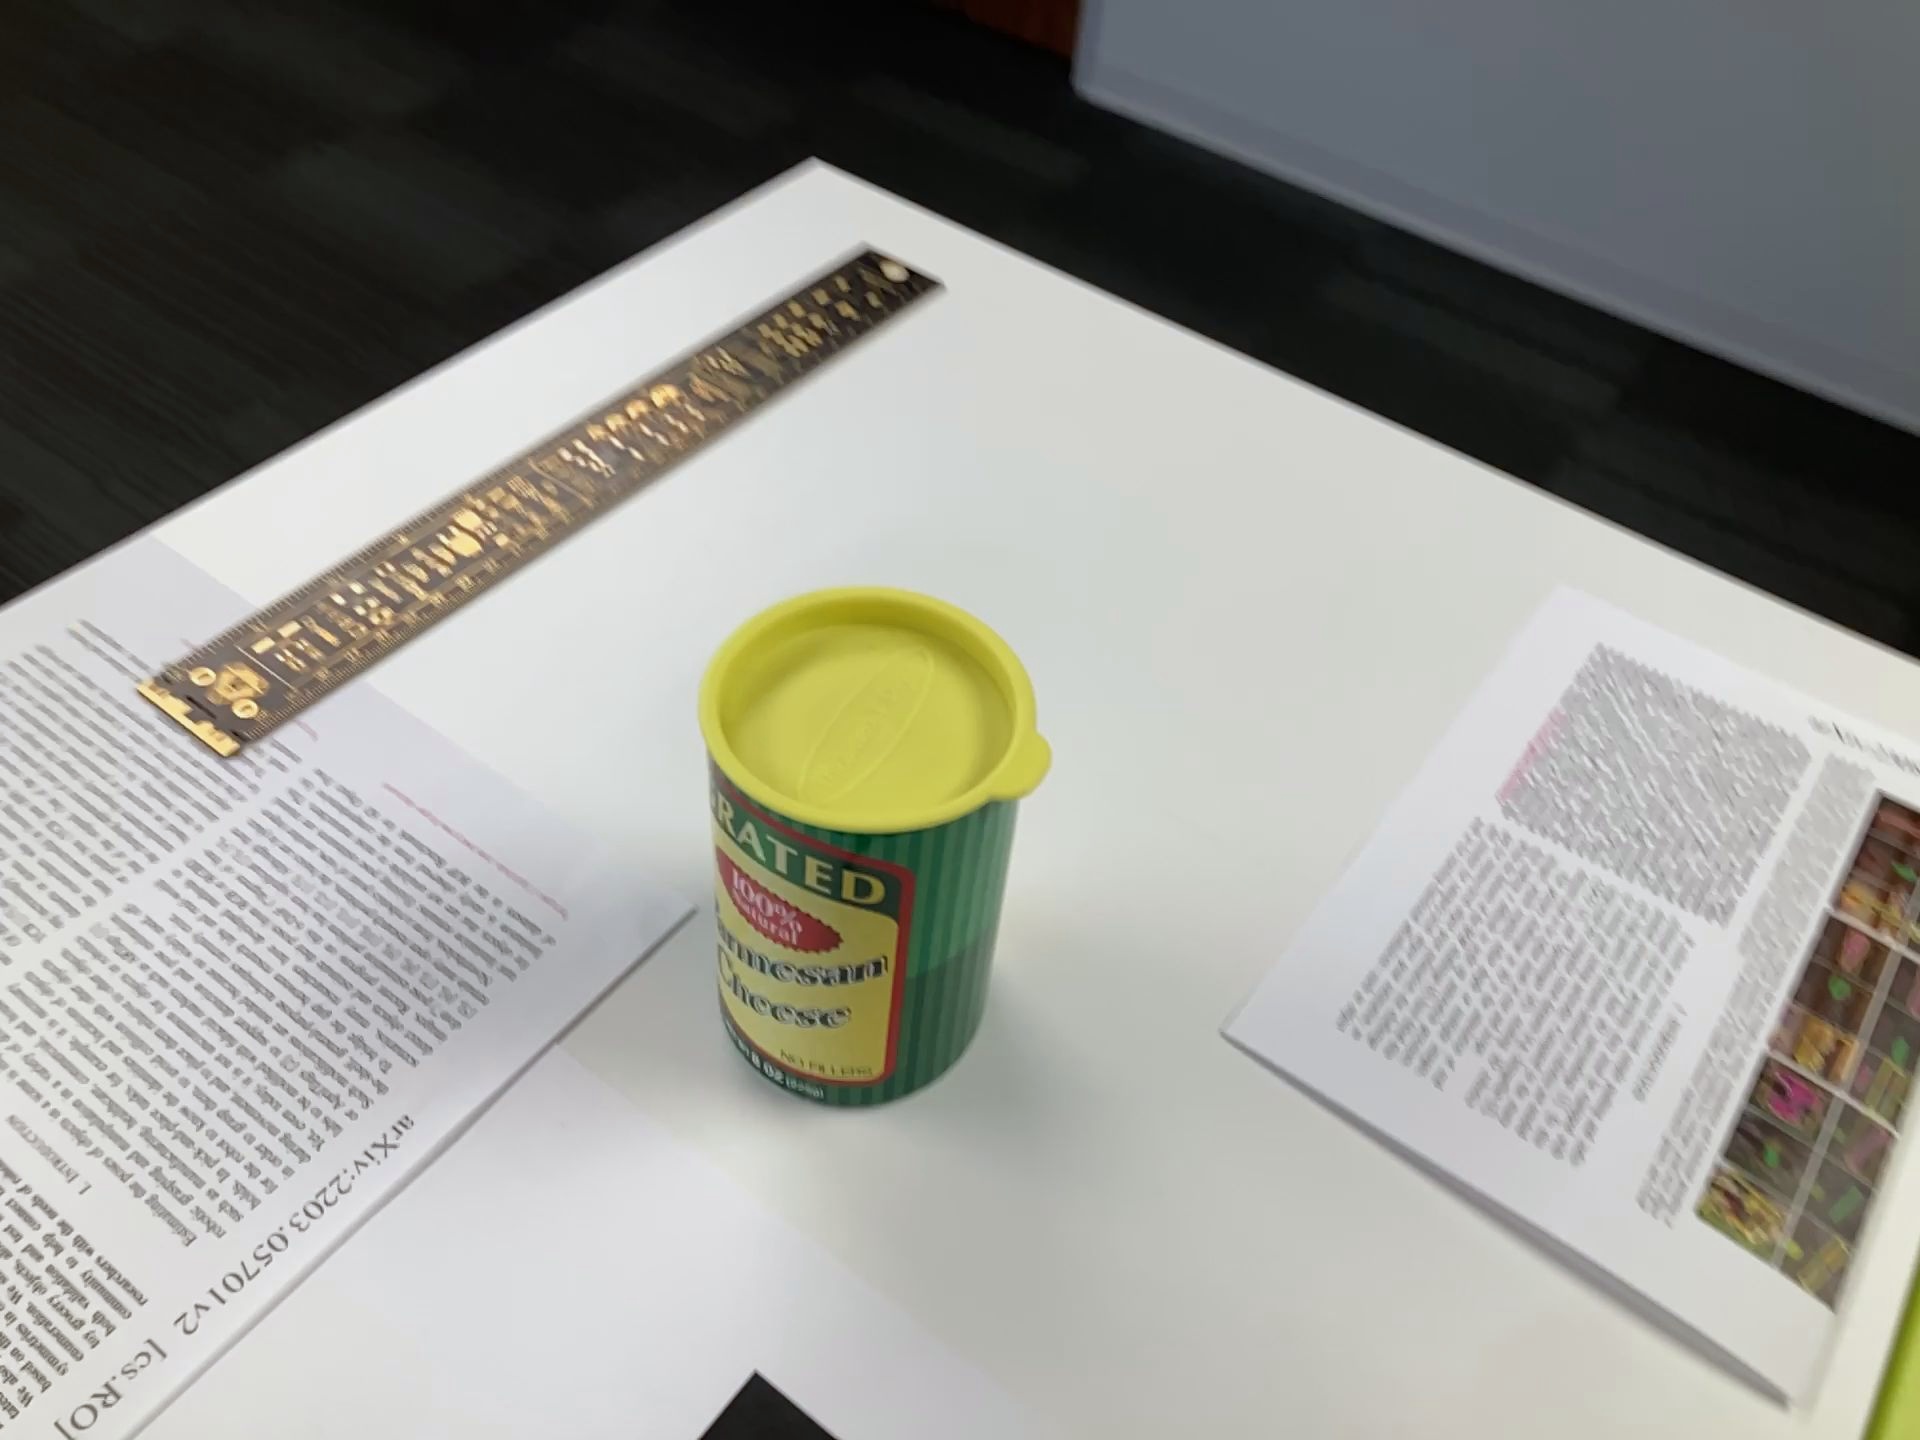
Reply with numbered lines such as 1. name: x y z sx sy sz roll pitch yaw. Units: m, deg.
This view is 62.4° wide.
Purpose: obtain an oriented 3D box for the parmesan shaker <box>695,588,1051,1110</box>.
1. parmesan shaker: -0.020 0.033 0.345 0.071 0.103 0.071 3 47 -3
